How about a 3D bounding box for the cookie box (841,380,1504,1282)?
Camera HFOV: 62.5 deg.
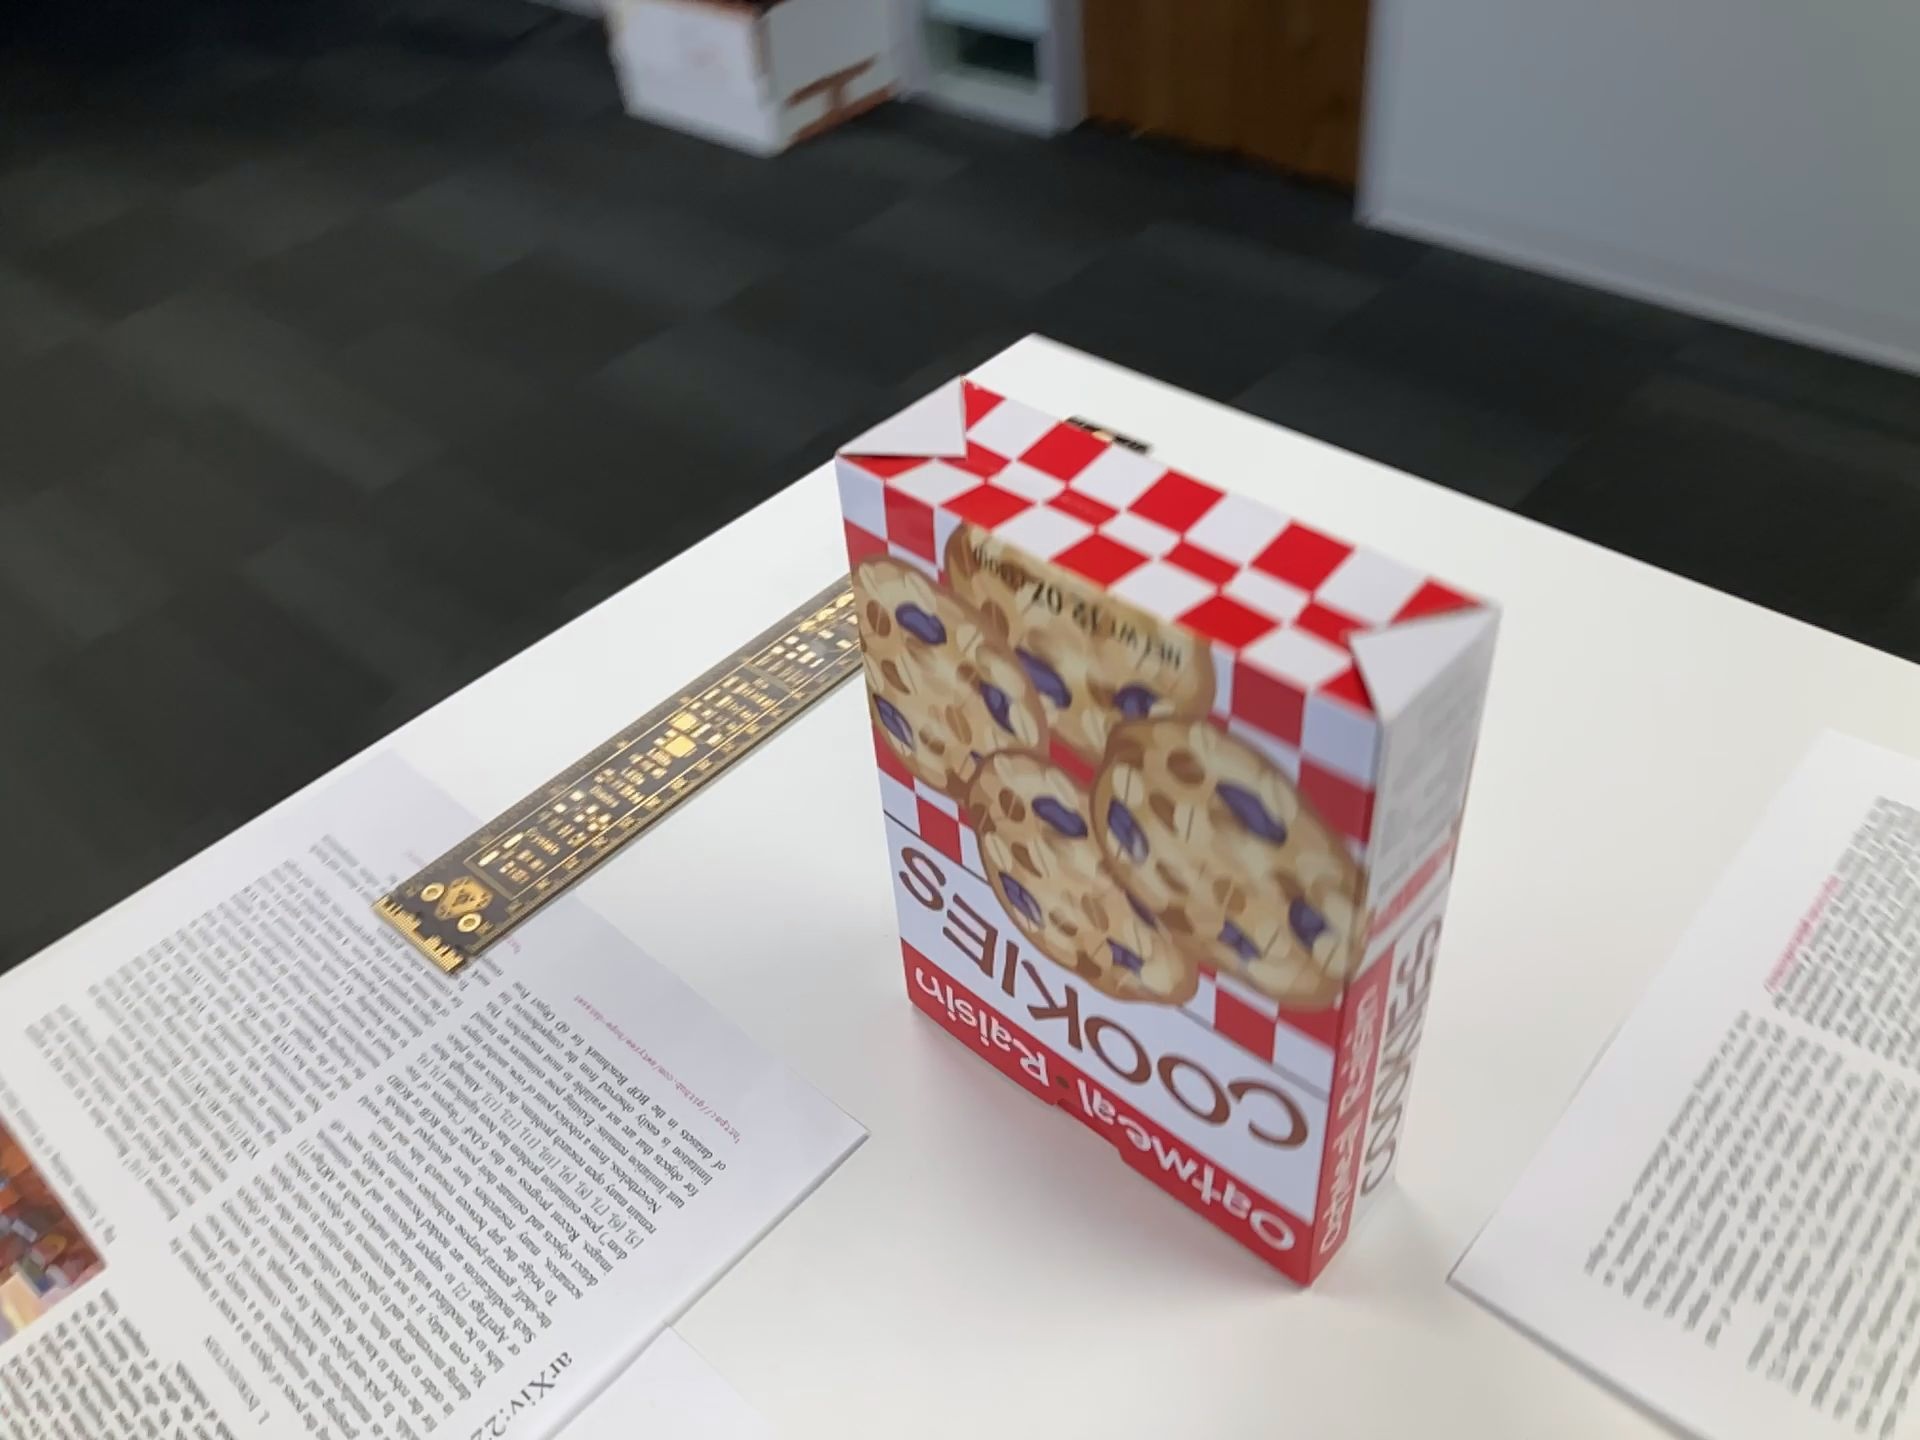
[{"bbox_3d":[0.037,0.028,0.335,0.123,0.167,0.040,31,53,33],"label":"cookie box"}]
